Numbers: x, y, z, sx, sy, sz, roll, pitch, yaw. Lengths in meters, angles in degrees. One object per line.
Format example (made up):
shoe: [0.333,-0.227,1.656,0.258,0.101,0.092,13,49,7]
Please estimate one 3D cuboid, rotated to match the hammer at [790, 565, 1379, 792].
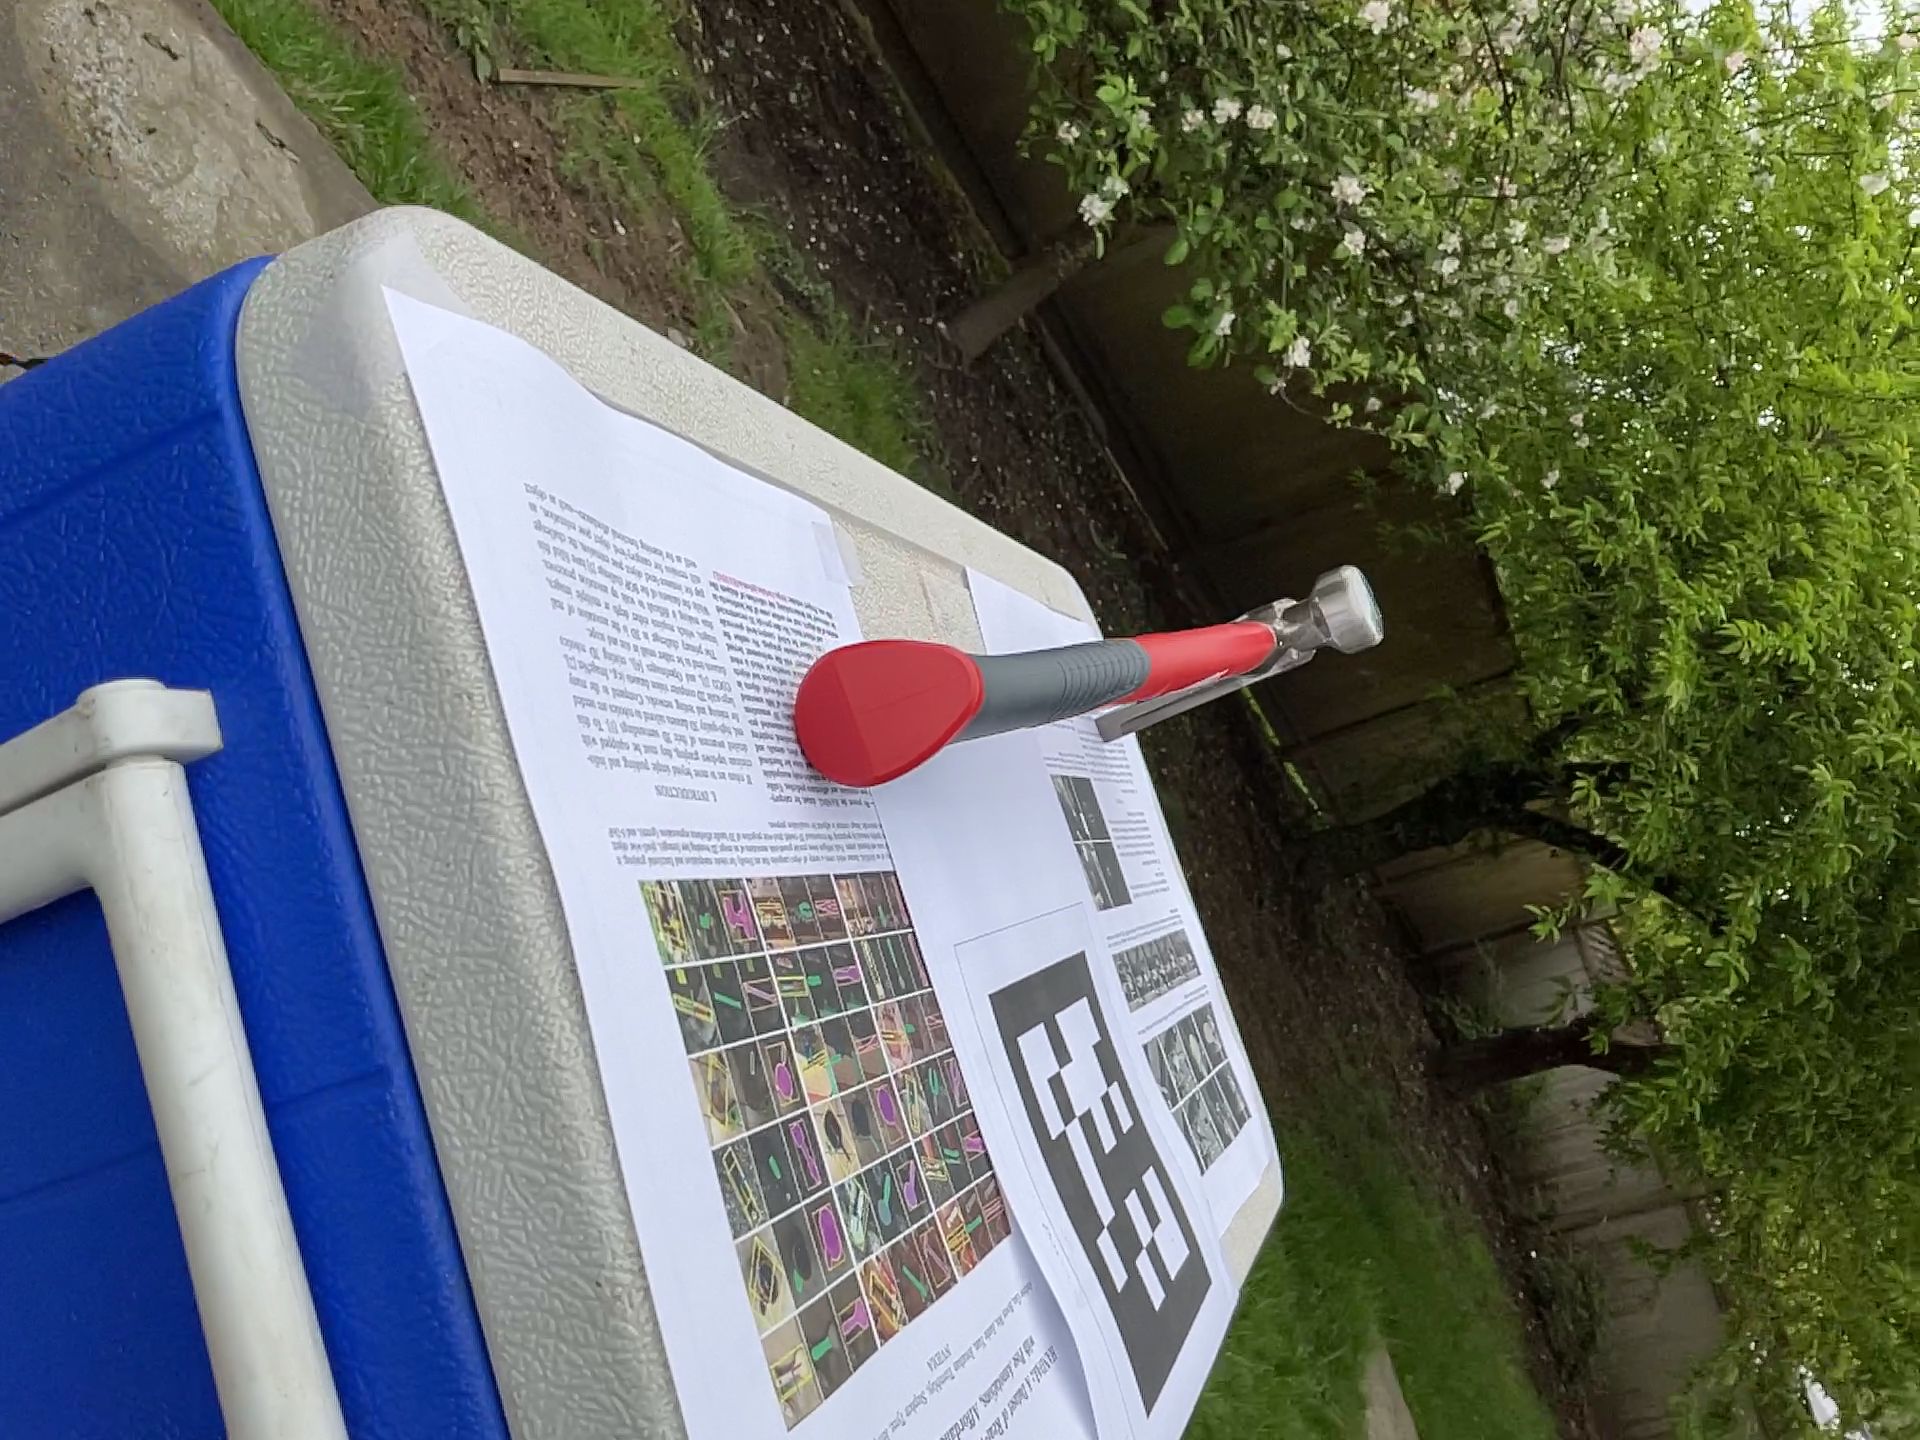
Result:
hammer: [0.041,-0.011,0.579,0.386,0.143,0.038,-12,80,-63]
